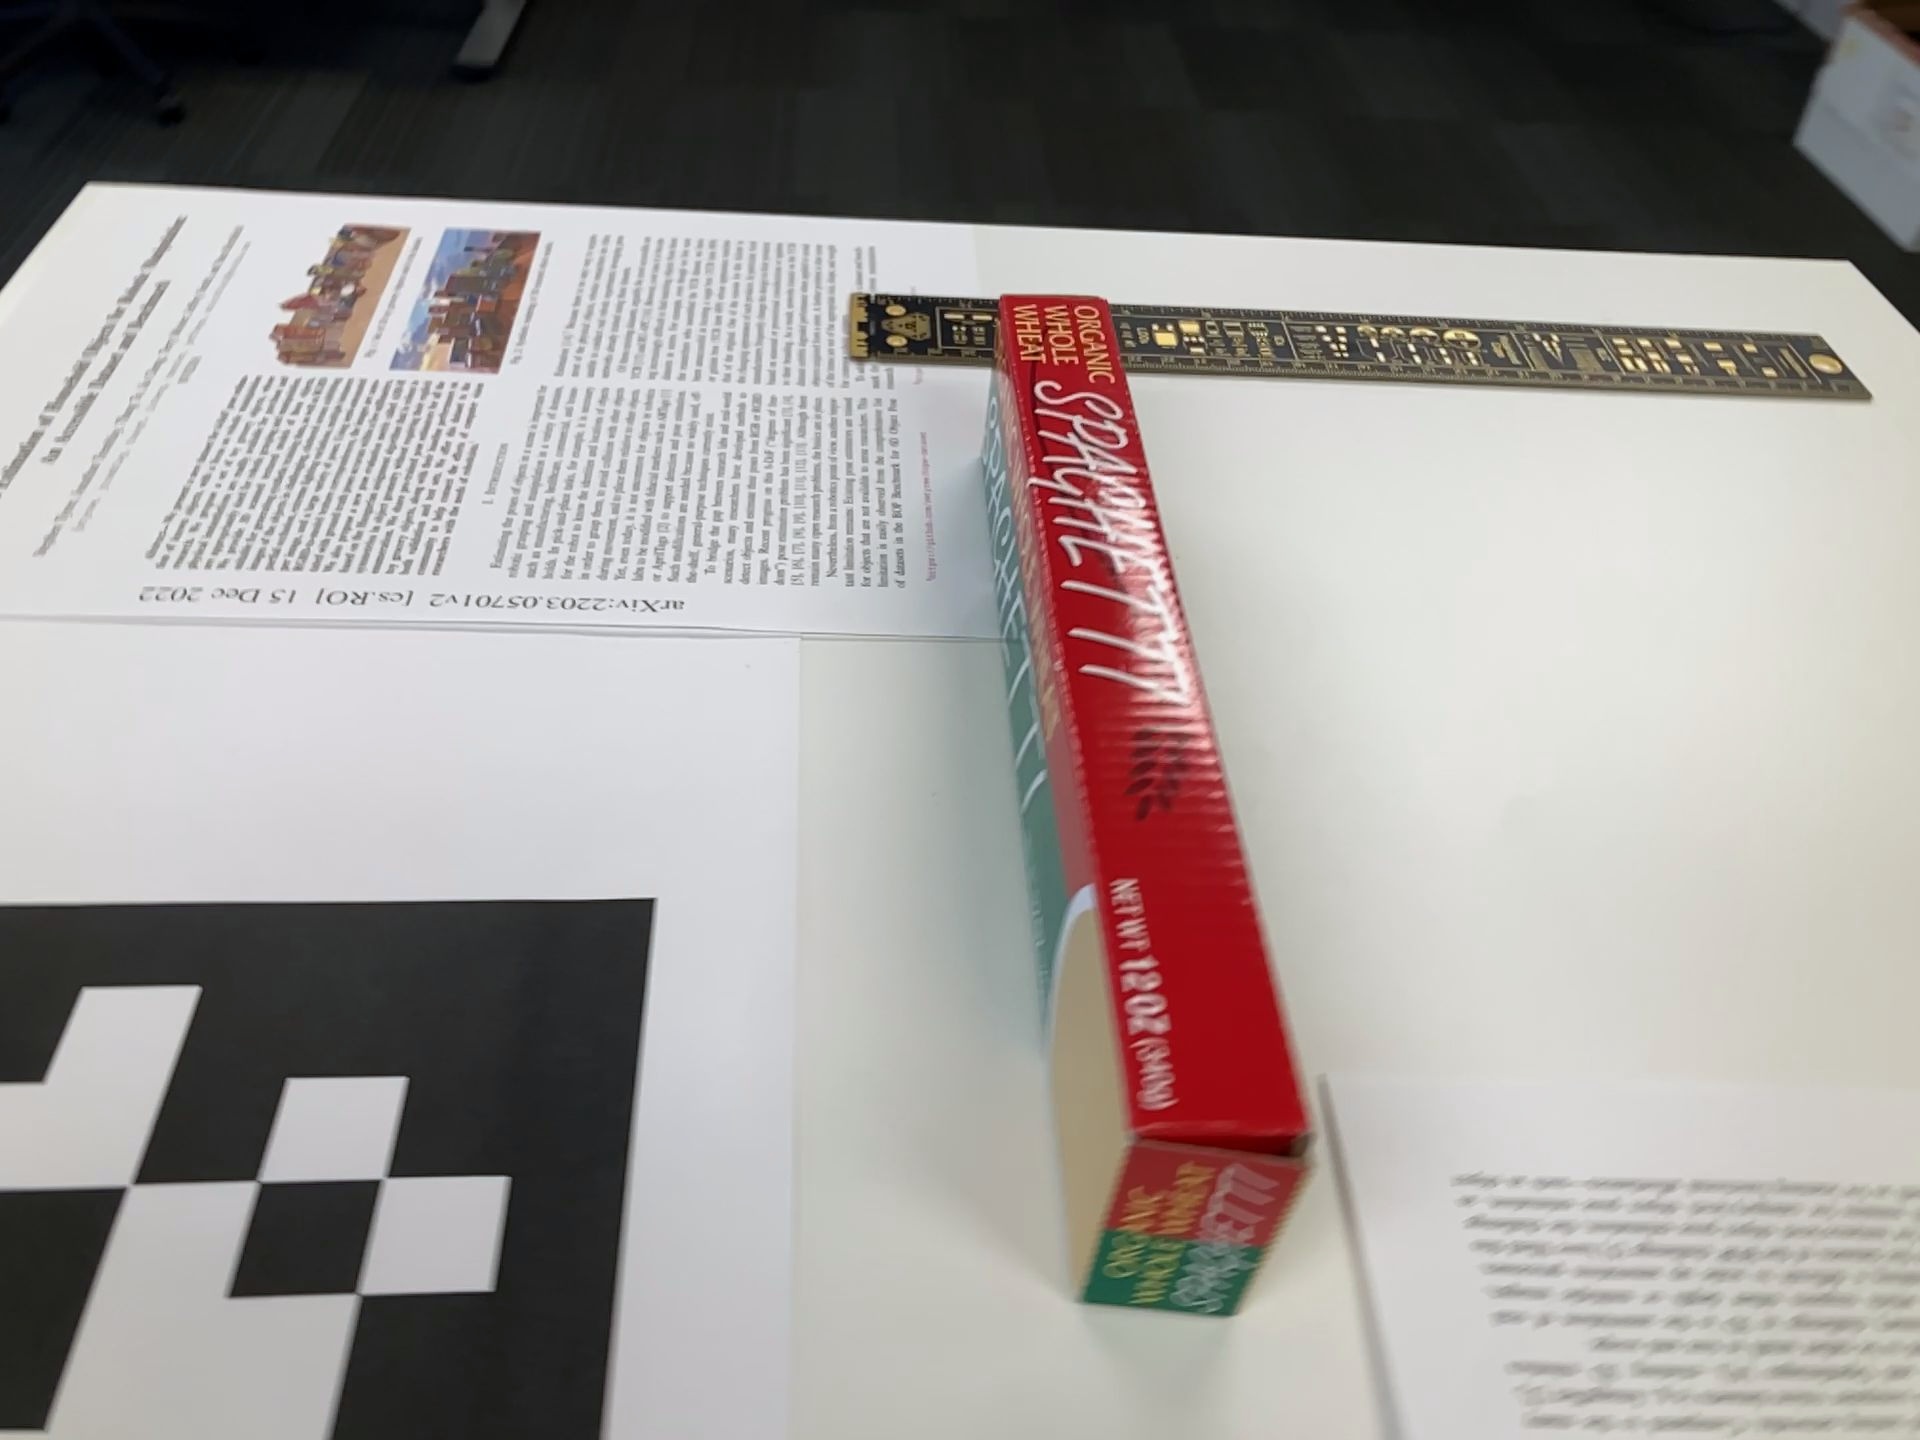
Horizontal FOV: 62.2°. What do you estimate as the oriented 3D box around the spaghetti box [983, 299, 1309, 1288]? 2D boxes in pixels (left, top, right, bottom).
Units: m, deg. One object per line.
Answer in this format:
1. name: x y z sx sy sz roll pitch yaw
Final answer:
1. spaghetti box: 0.029 -0.008 0.335 0.028 0.050 0.250 2 43 -7
